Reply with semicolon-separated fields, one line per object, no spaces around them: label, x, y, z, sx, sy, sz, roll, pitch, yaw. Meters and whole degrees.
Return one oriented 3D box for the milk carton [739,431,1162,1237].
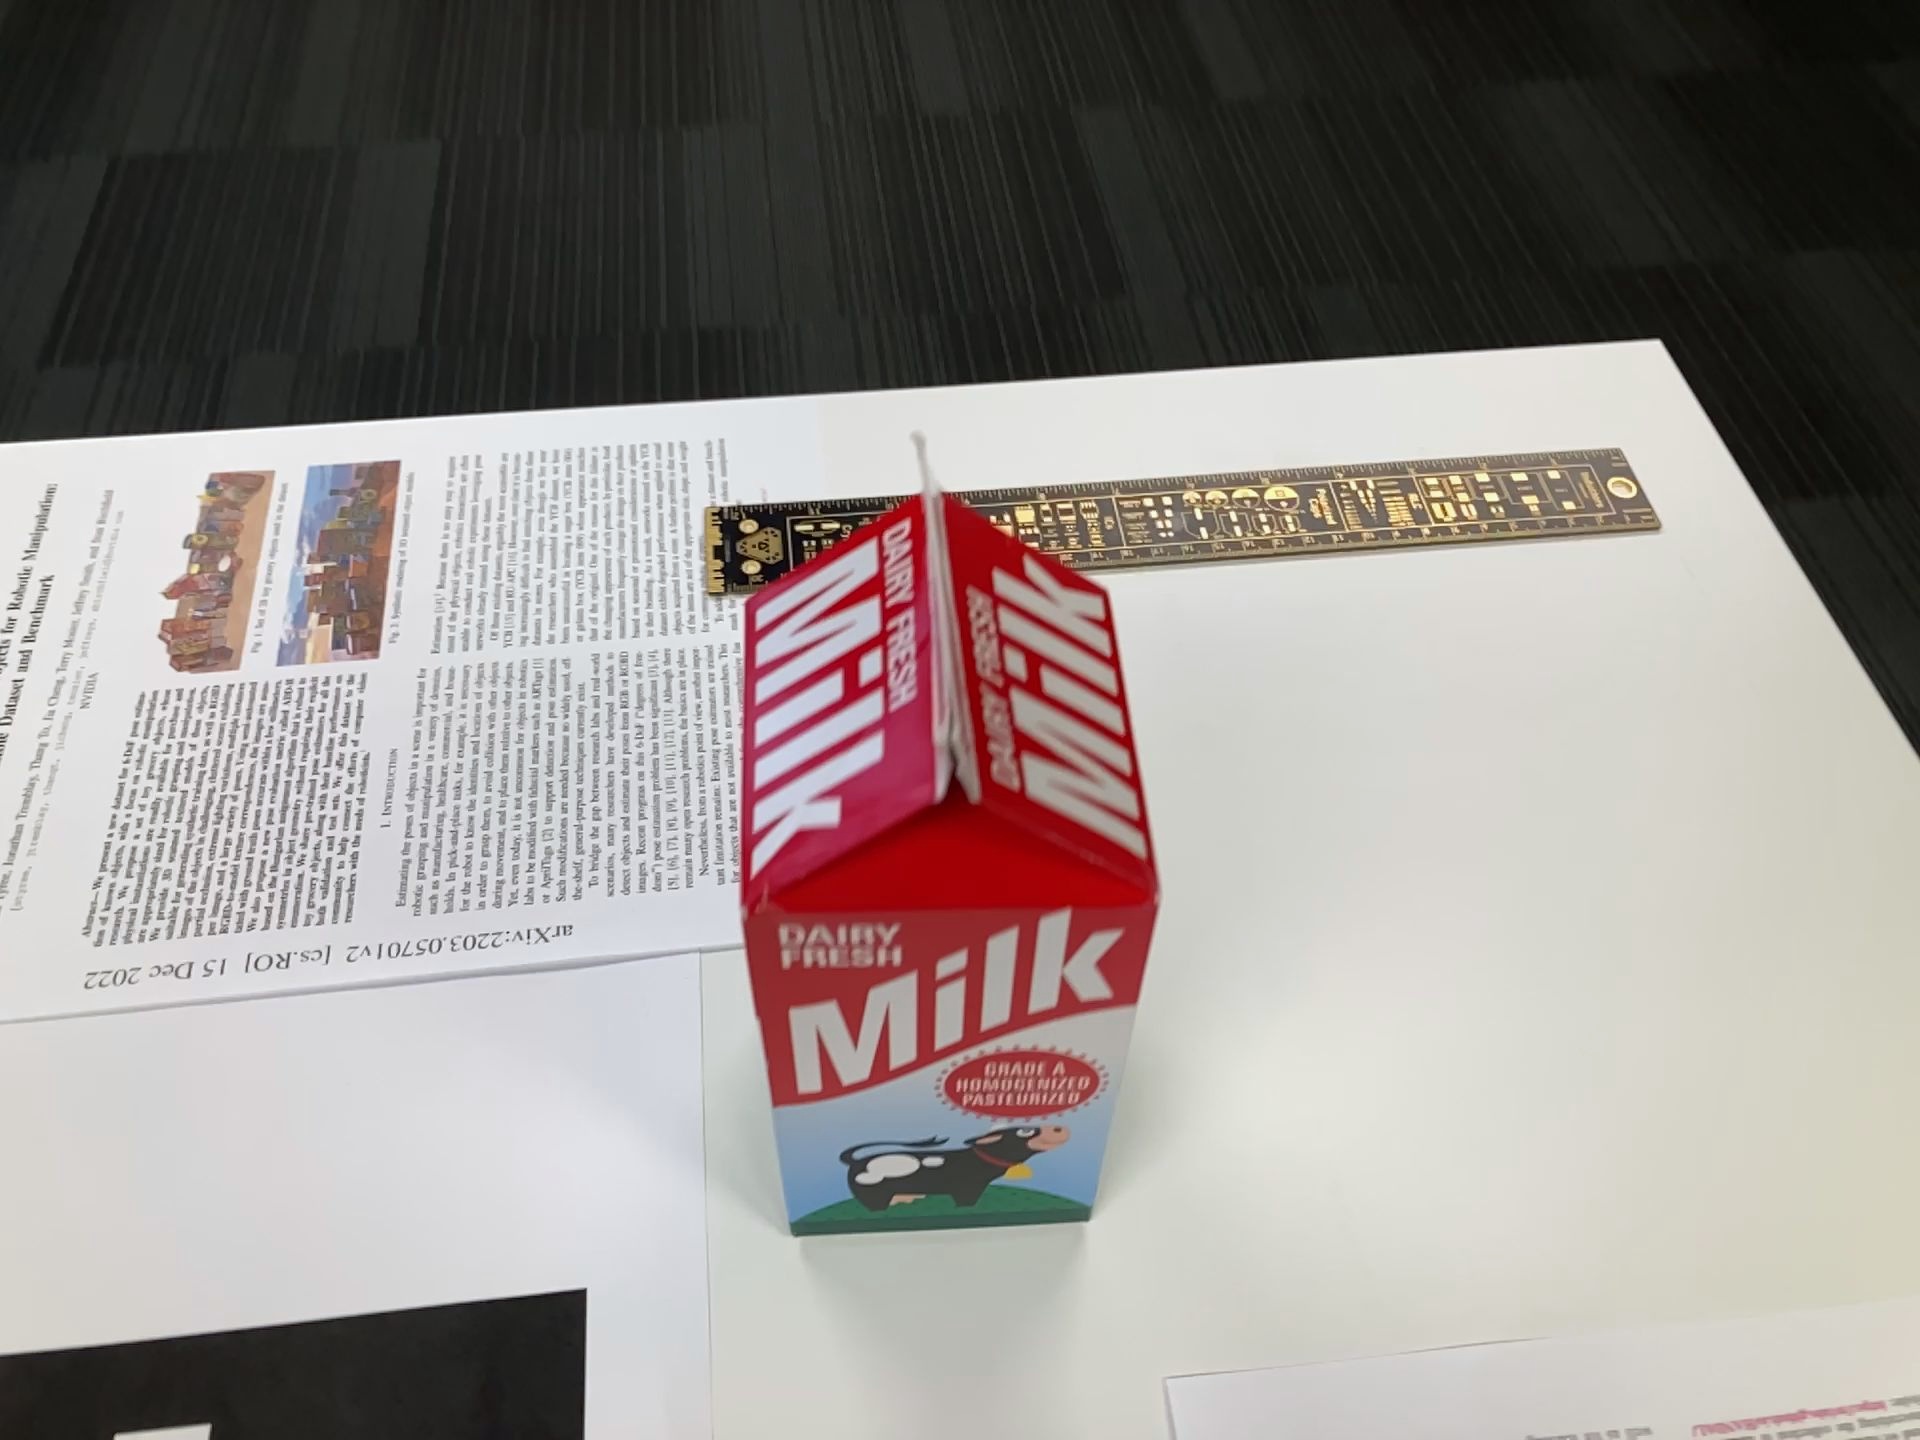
milk carton;-0.005;0.036;0.323;0.073;0.190;0.072;-2;51;-3
